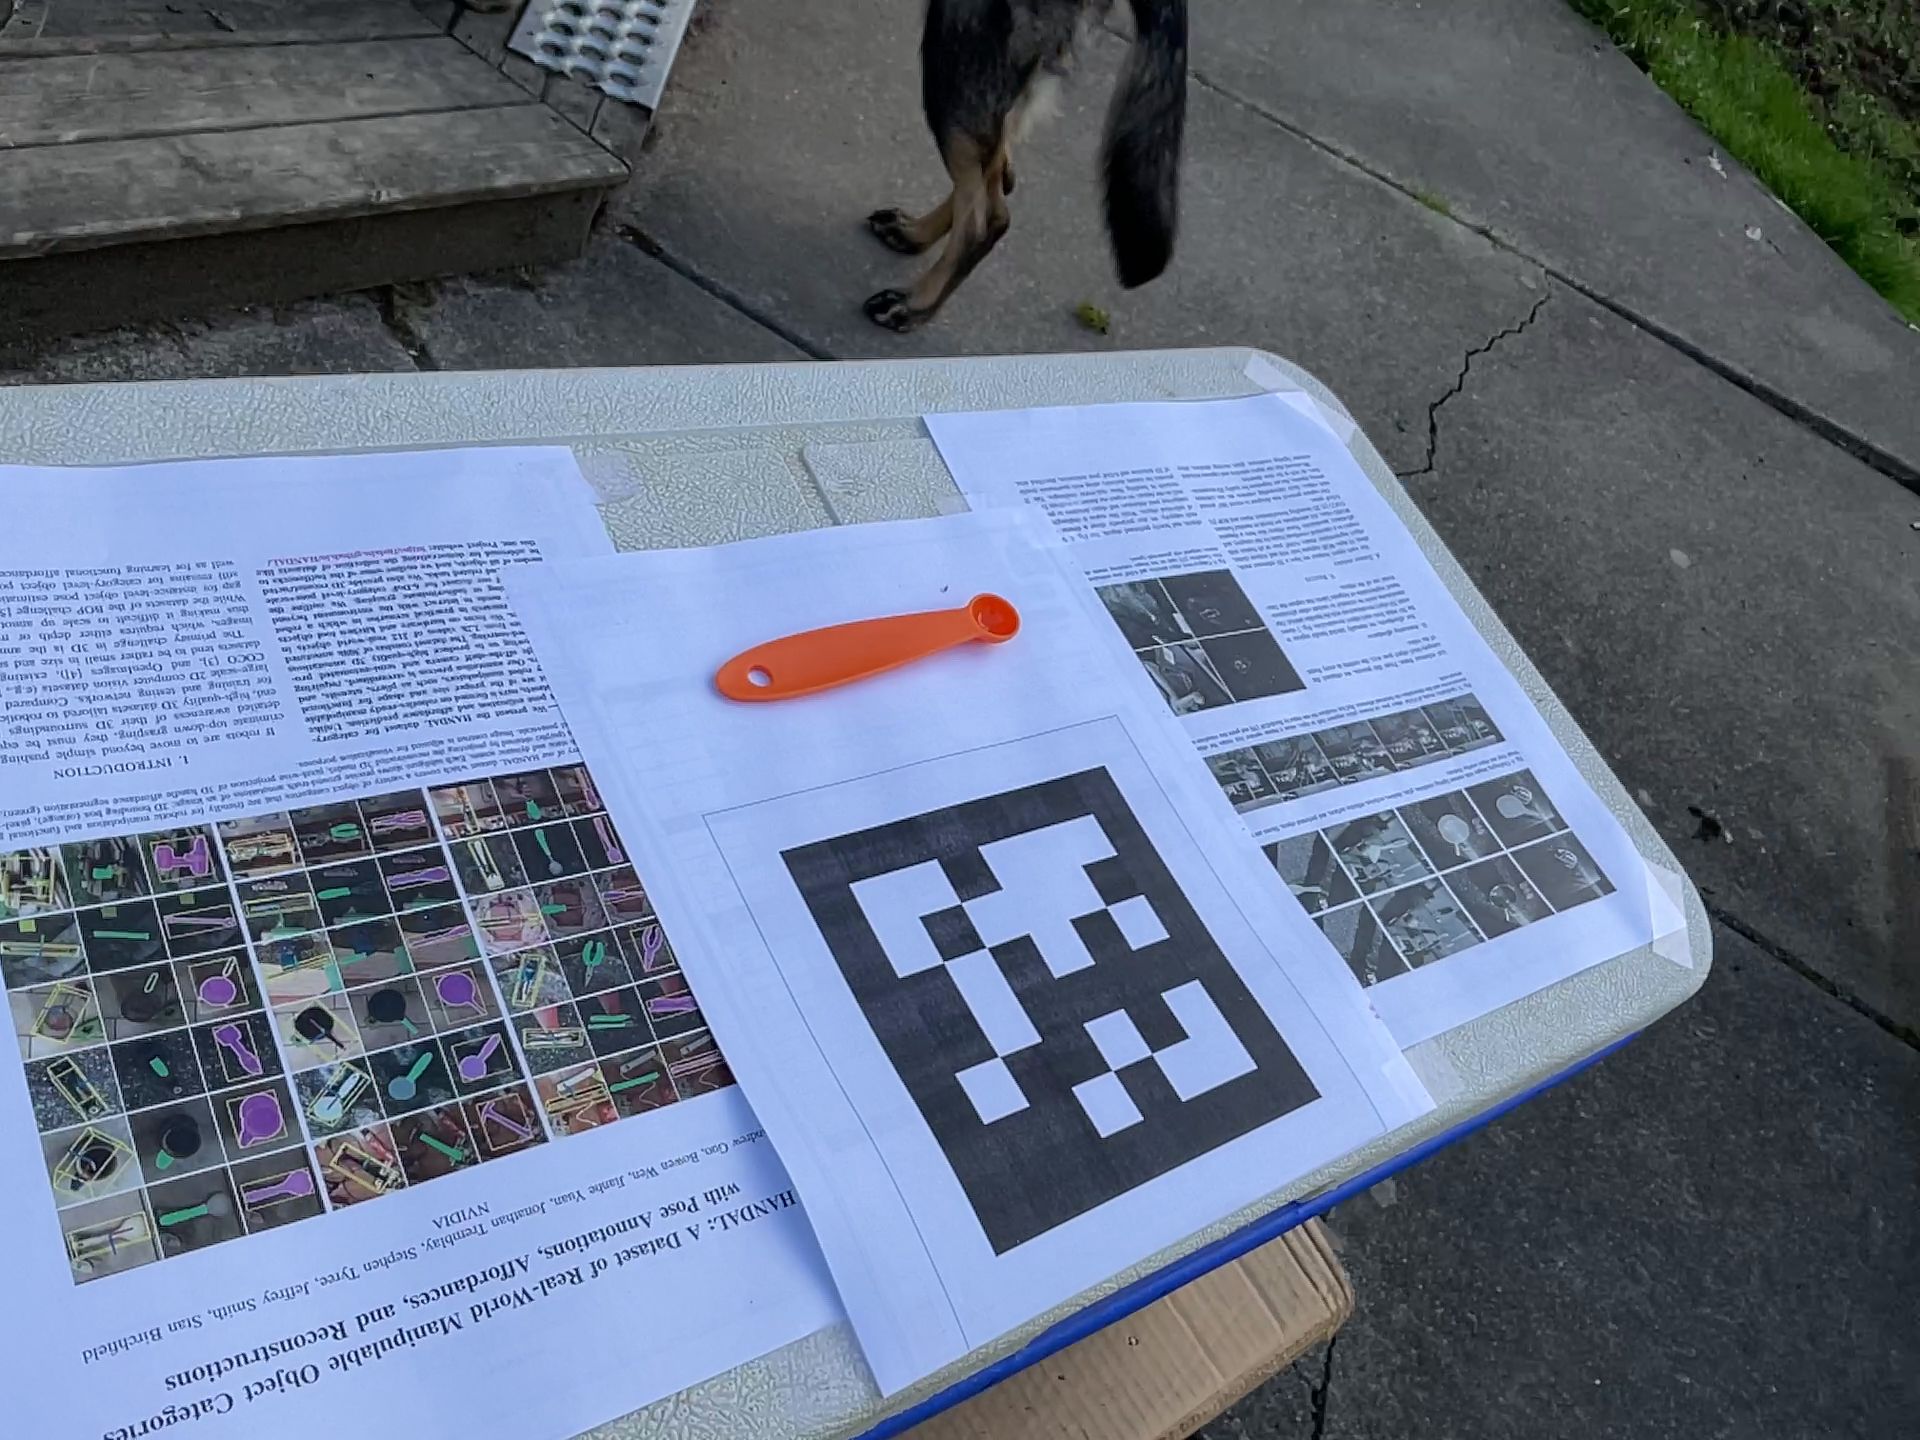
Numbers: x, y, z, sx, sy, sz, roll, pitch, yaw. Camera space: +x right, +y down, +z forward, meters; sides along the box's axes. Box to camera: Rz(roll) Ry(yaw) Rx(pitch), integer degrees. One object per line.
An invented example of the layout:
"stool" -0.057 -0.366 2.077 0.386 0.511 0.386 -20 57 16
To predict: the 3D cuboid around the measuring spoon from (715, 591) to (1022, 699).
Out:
"measuring spoon" -0.028 -0.023 0.518 0.117 0.011 0.021 -16 65 -35
